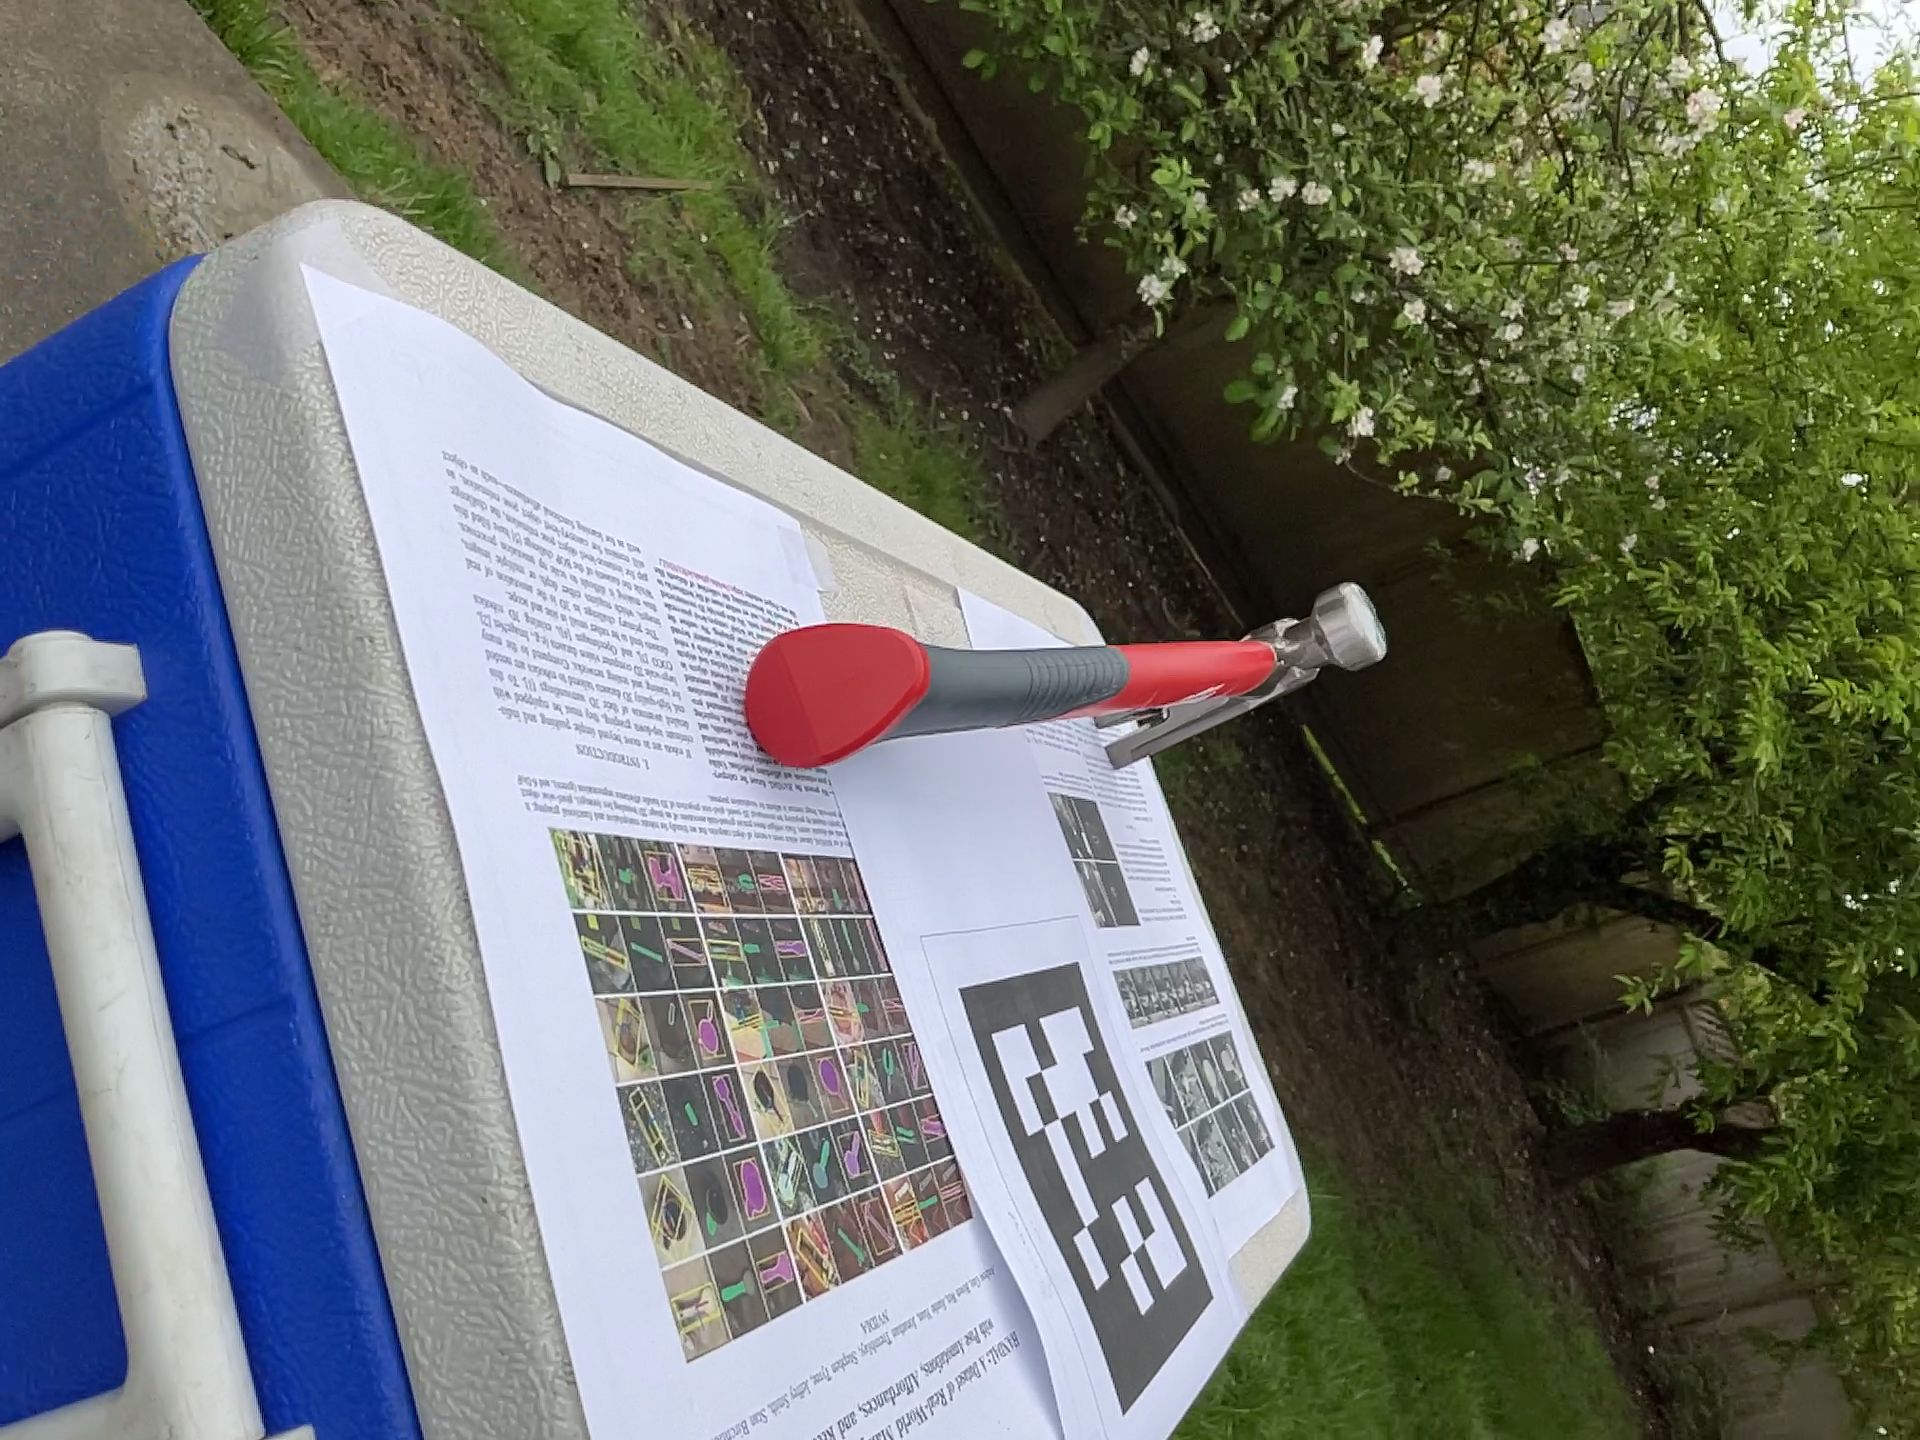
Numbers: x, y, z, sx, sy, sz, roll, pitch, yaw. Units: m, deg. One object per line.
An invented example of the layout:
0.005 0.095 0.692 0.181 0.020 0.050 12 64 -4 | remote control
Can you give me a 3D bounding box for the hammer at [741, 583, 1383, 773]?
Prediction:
0.036 -0.008 0.584 0.386 0.143 0.038 -6 73 -60 | hammer
